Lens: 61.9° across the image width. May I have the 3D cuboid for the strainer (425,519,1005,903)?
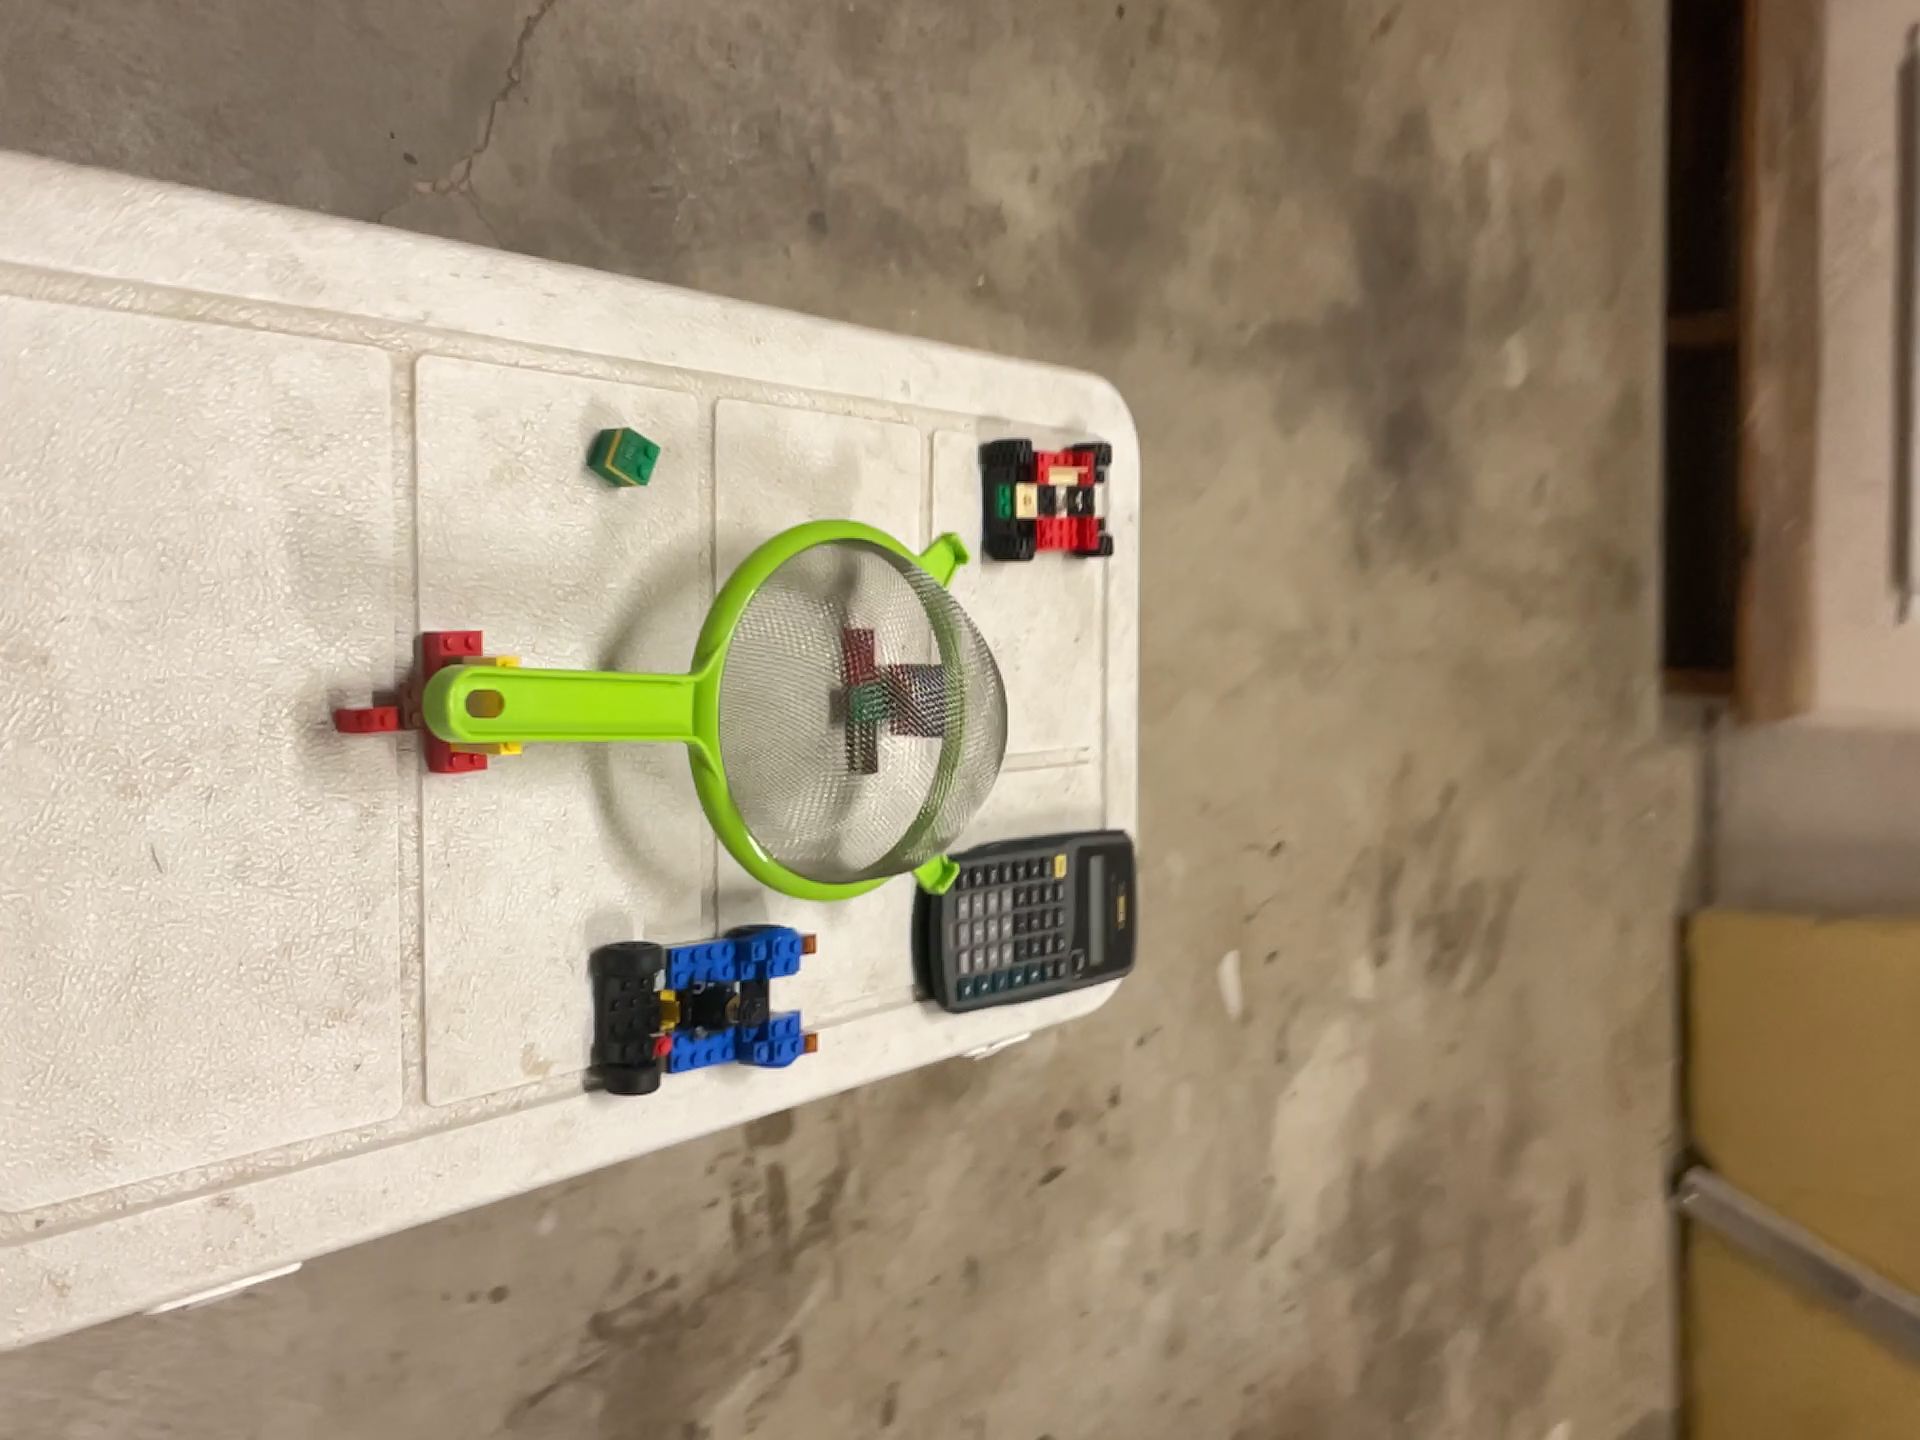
[{"bbox_3d":[-0.061,-0.002,0.573,0.256,0.069,0.151,1,93,-51],"label":"strainer"}]
